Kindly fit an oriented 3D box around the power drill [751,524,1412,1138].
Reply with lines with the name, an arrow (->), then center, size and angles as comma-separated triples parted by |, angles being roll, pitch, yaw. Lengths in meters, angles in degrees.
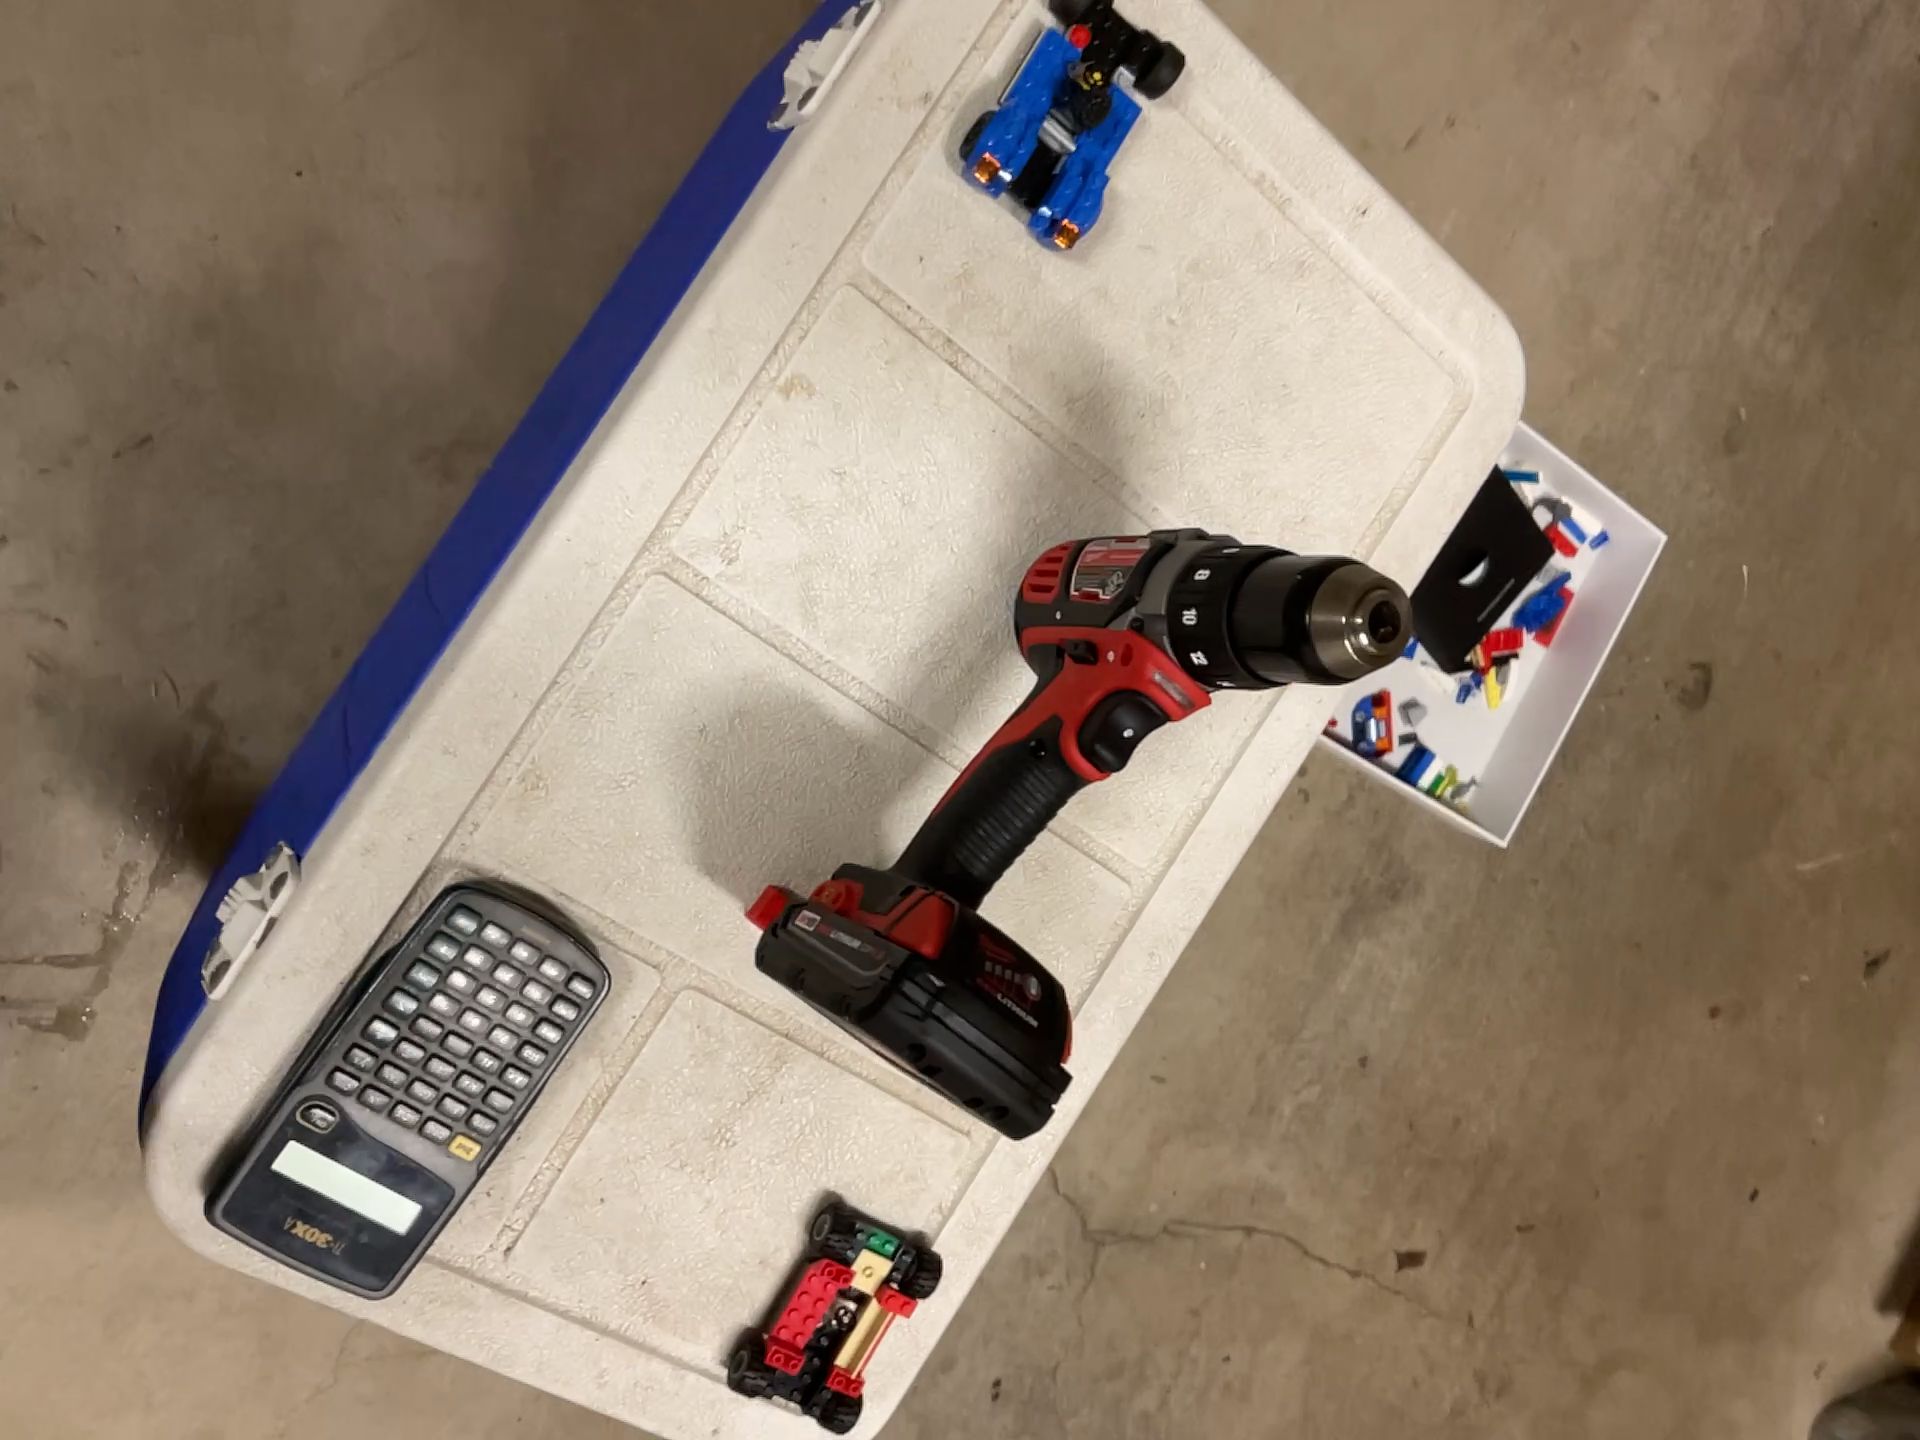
power drill -> 0.043, 0.025, 0.562 | 0.080, 0.188, 0.227 | 41, 75, -26
